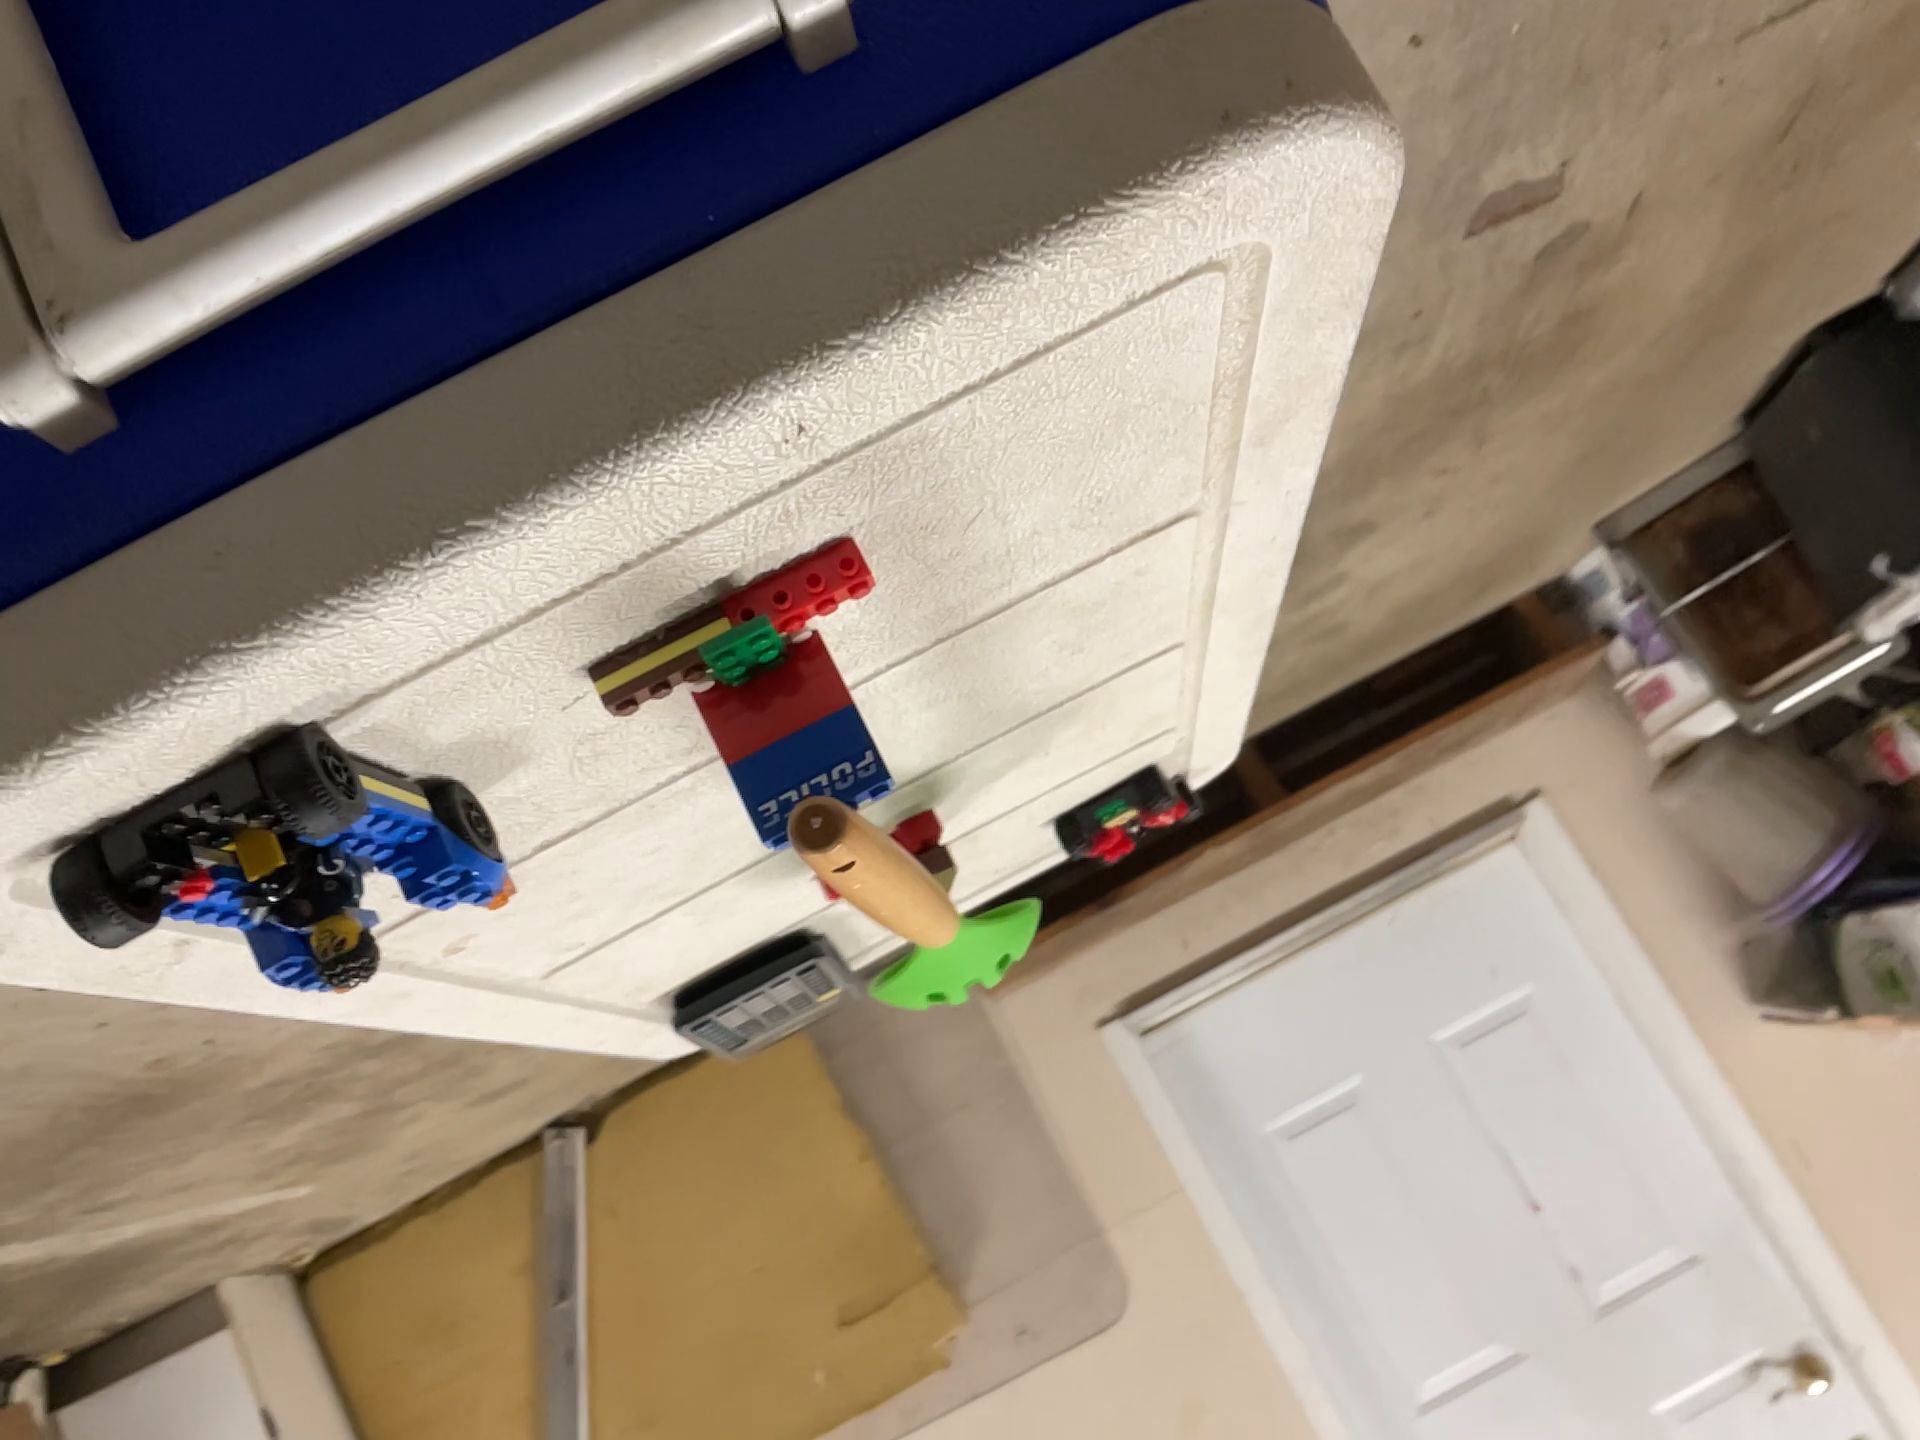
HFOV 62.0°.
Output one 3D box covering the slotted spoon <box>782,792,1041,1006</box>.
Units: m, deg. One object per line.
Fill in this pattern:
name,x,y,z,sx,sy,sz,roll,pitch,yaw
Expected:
slotted spoon,-0.013,0.056,0.460,0.070,0.031,0.313,-27,165,-1
